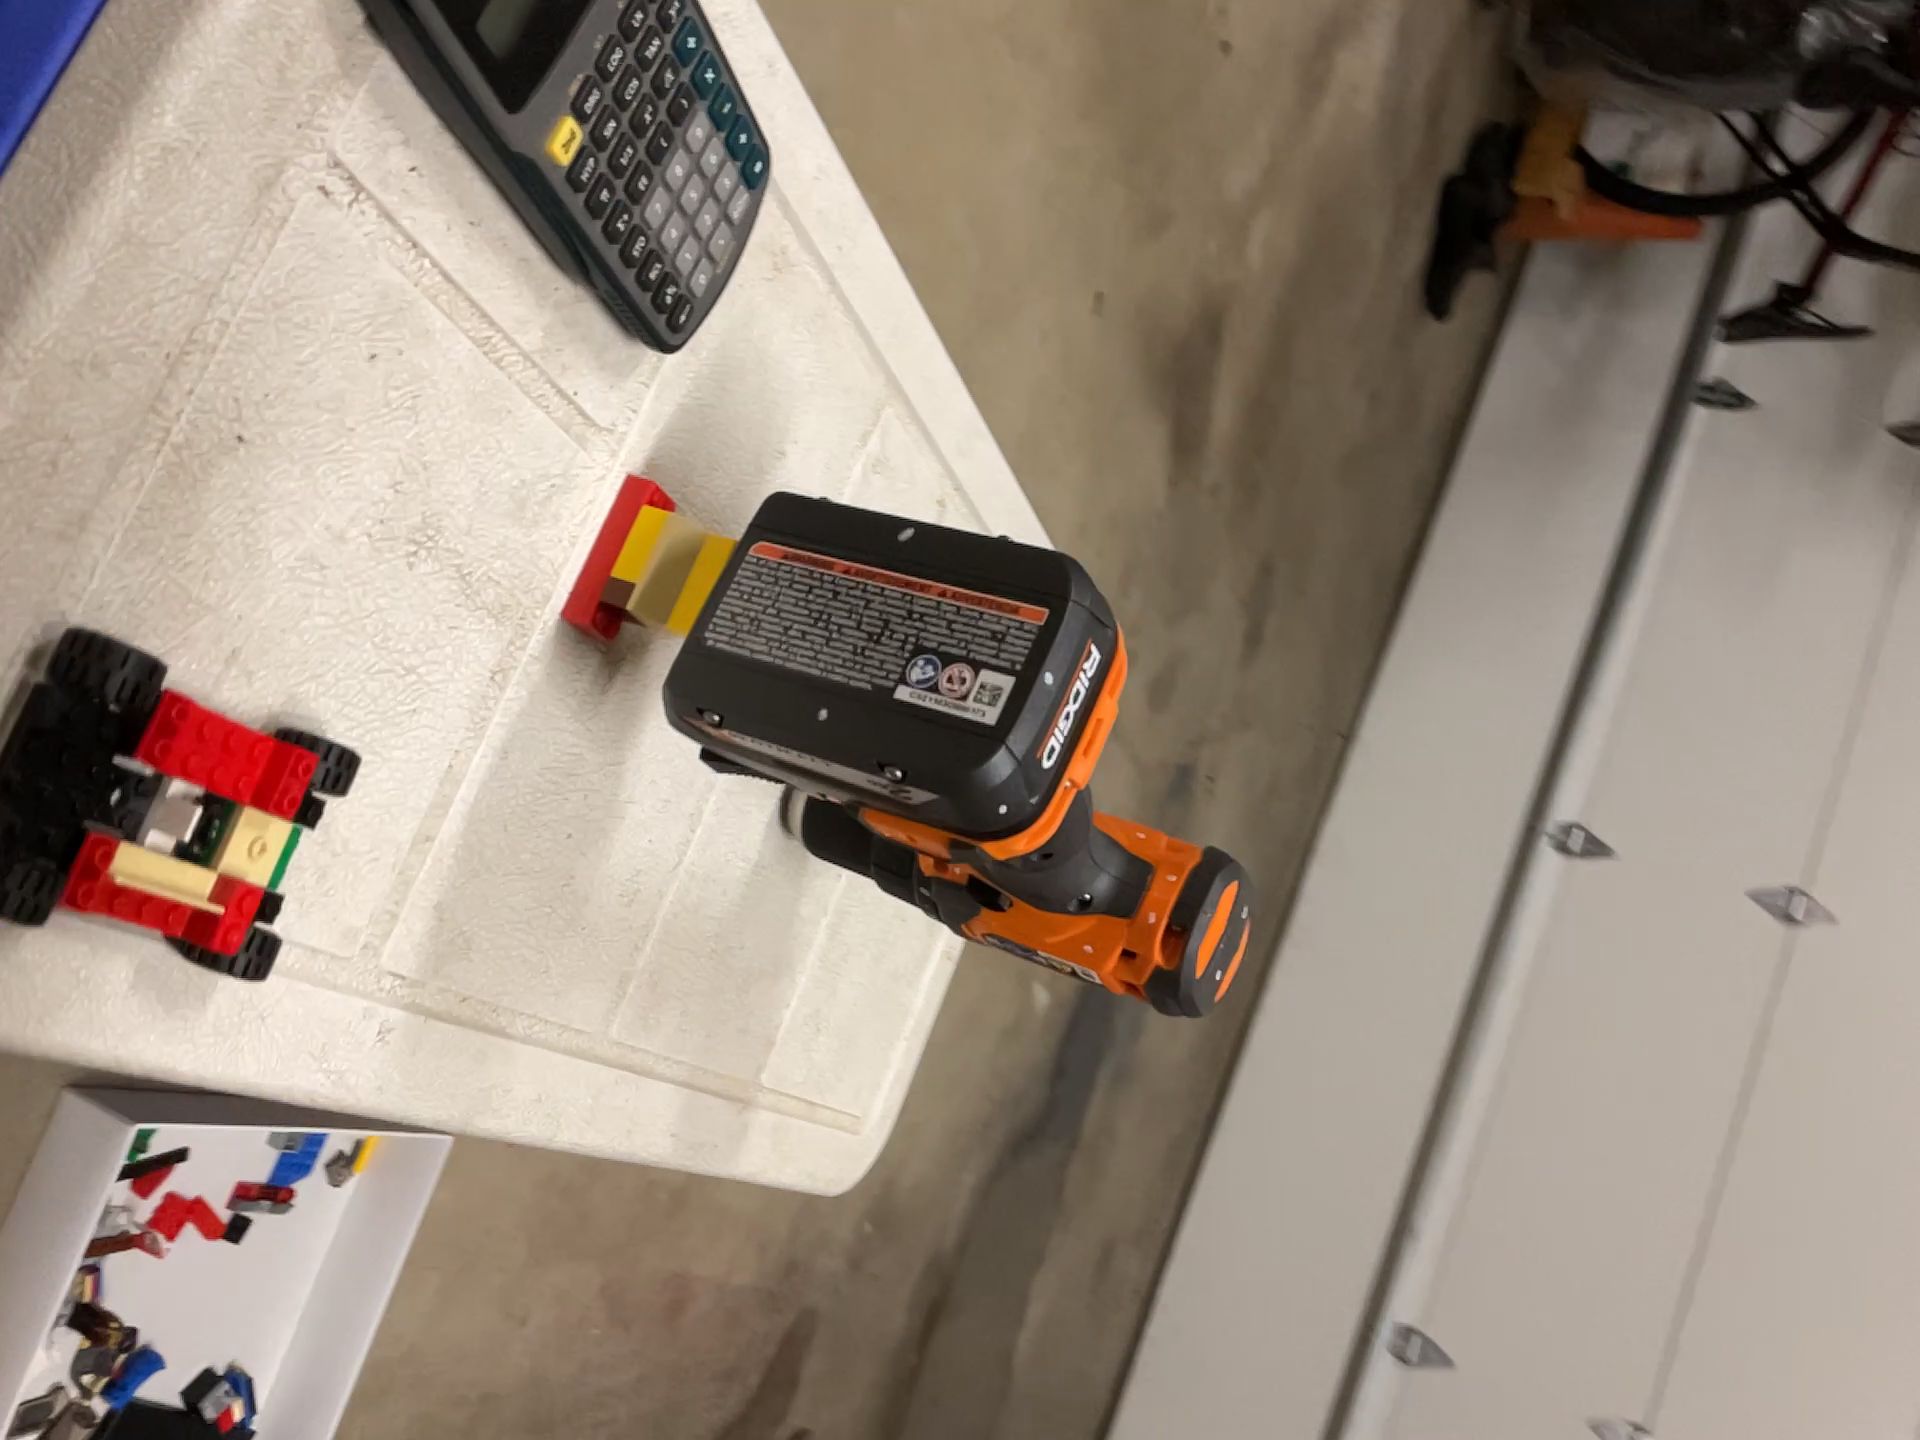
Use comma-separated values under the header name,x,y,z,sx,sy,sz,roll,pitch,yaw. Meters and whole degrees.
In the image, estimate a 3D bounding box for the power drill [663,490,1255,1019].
name,x,y,z,sx,sy,sz,roll,pitch,yaw
power drill,-0.011,0.019,0.528,0.084,0.185,0.226,-64,151,-17
